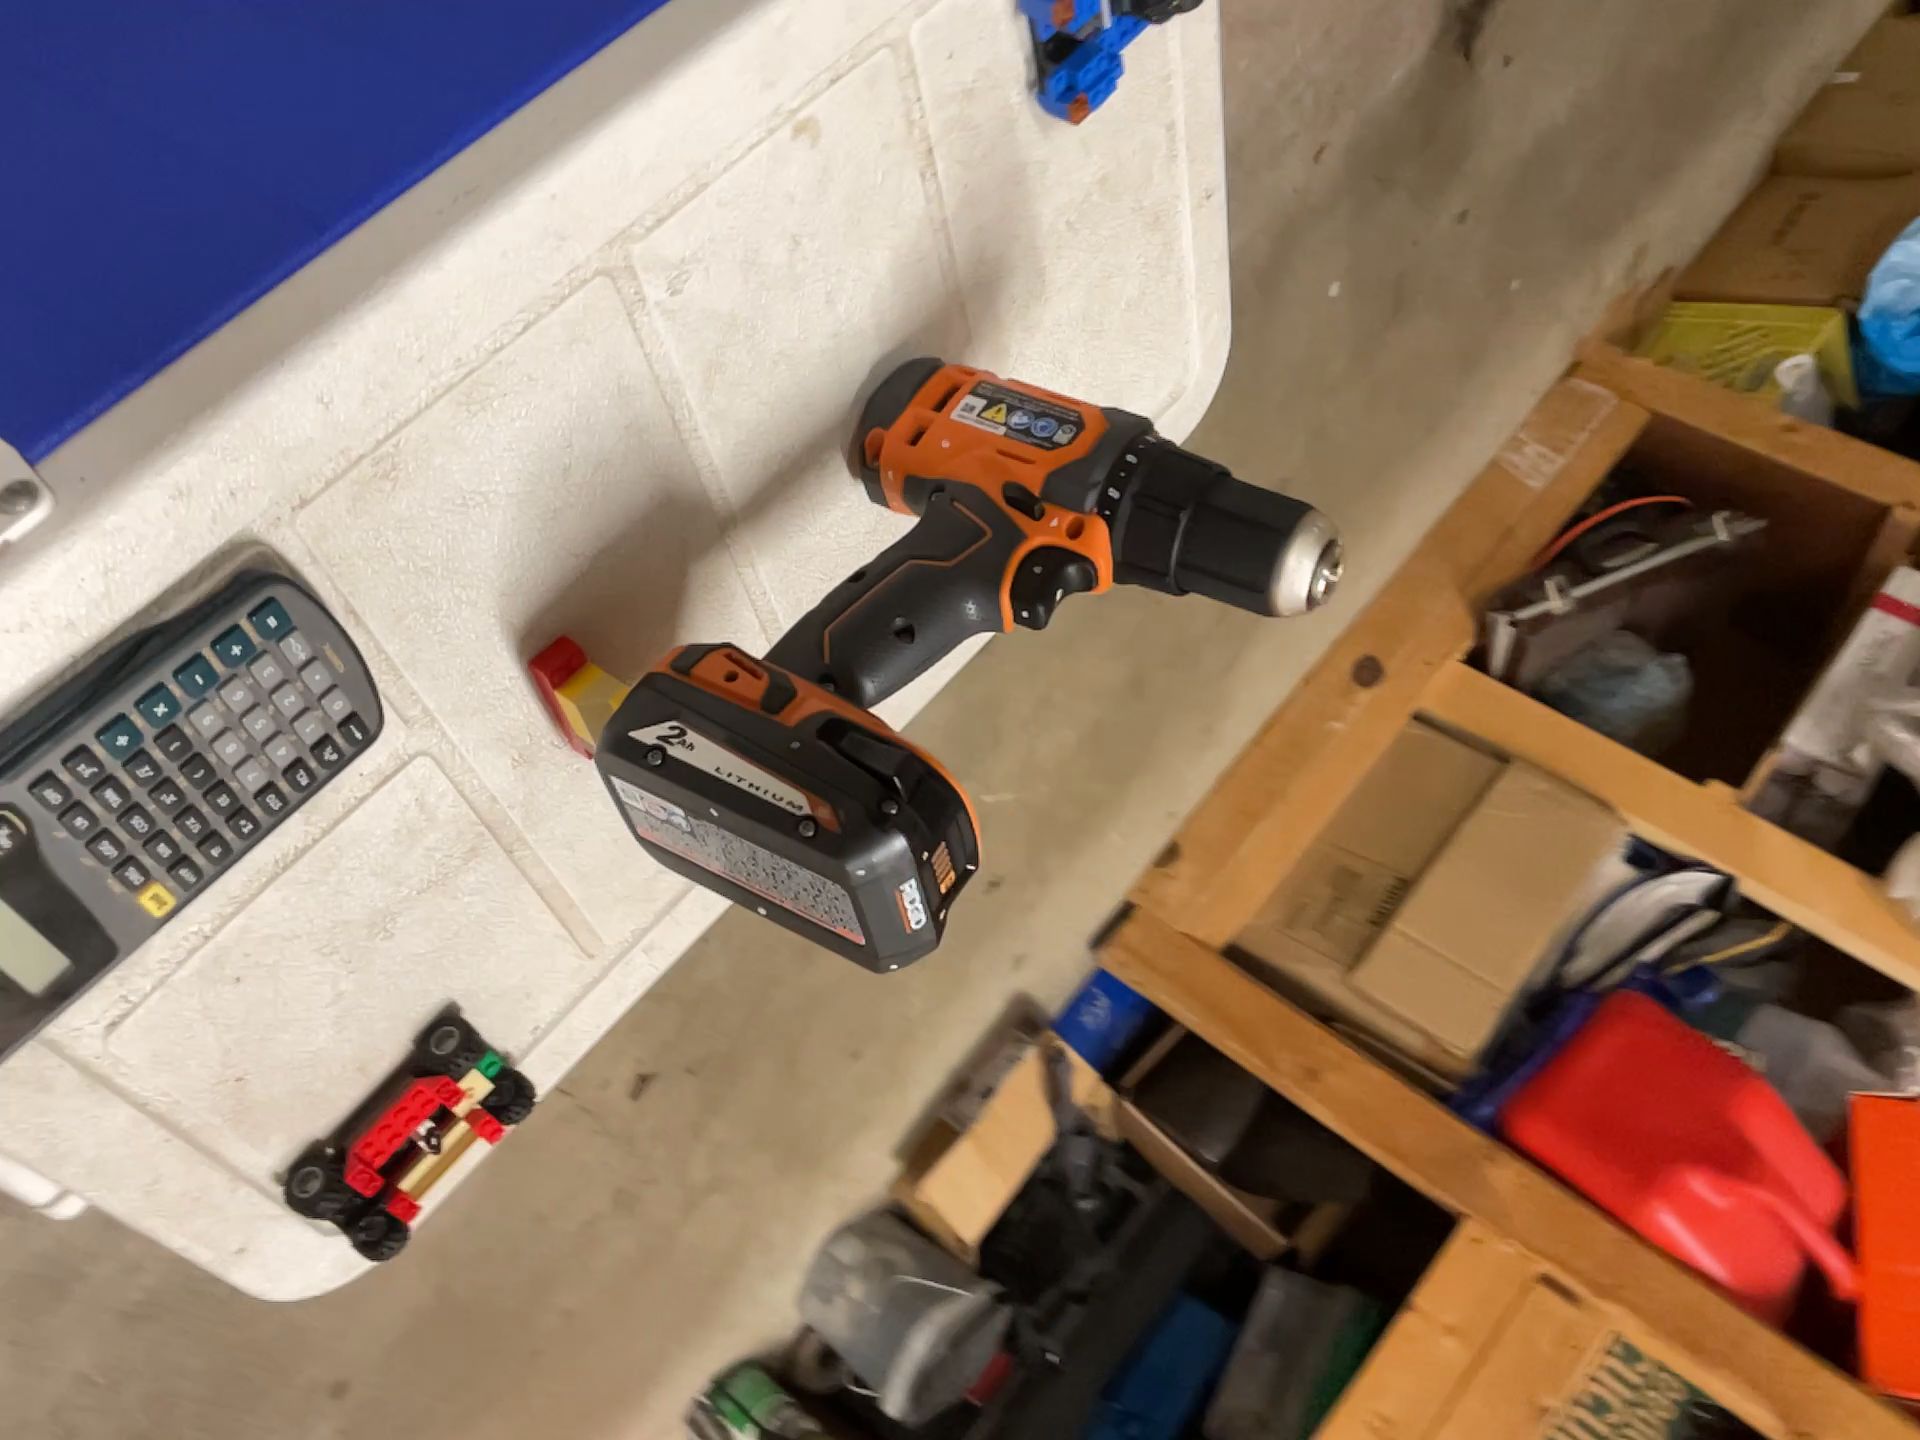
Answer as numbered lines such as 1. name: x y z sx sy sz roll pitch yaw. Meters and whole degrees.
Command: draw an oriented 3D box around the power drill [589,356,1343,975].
1. power drill: 0.008 -0.026 0.549 0.226 0.185 0.084 -54 153 -28
